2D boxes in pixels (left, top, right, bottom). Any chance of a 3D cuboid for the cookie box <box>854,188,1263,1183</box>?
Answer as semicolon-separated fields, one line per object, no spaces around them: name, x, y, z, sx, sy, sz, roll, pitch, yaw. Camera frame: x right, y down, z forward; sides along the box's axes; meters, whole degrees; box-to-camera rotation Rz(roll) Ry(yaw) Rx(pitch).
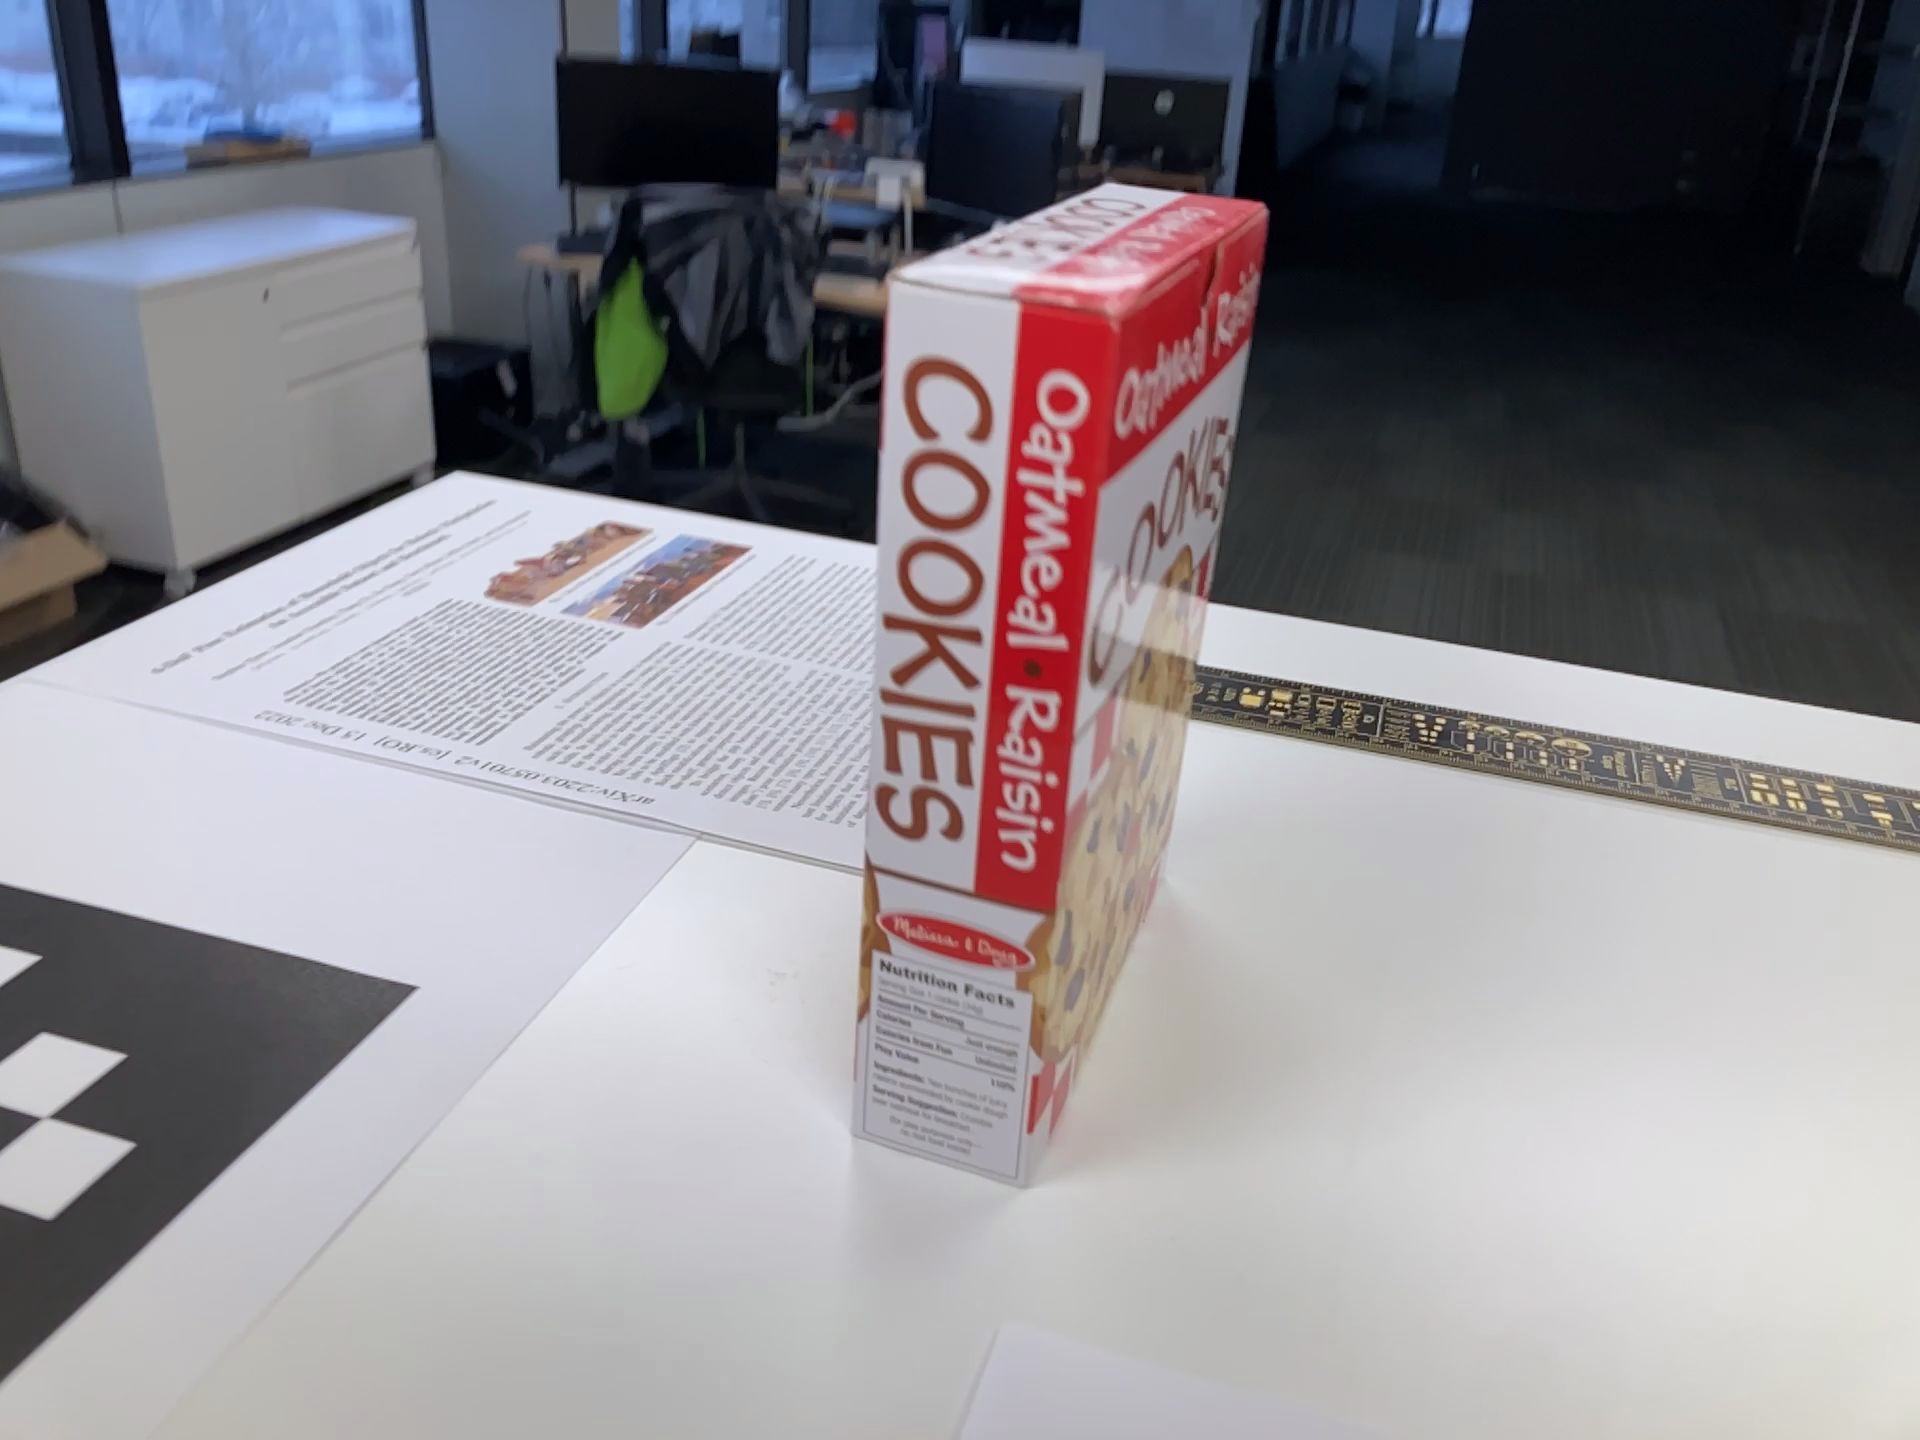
cookie box;0.022;-0.014;0.320;0.040;0.167;0.123;12;27;16
